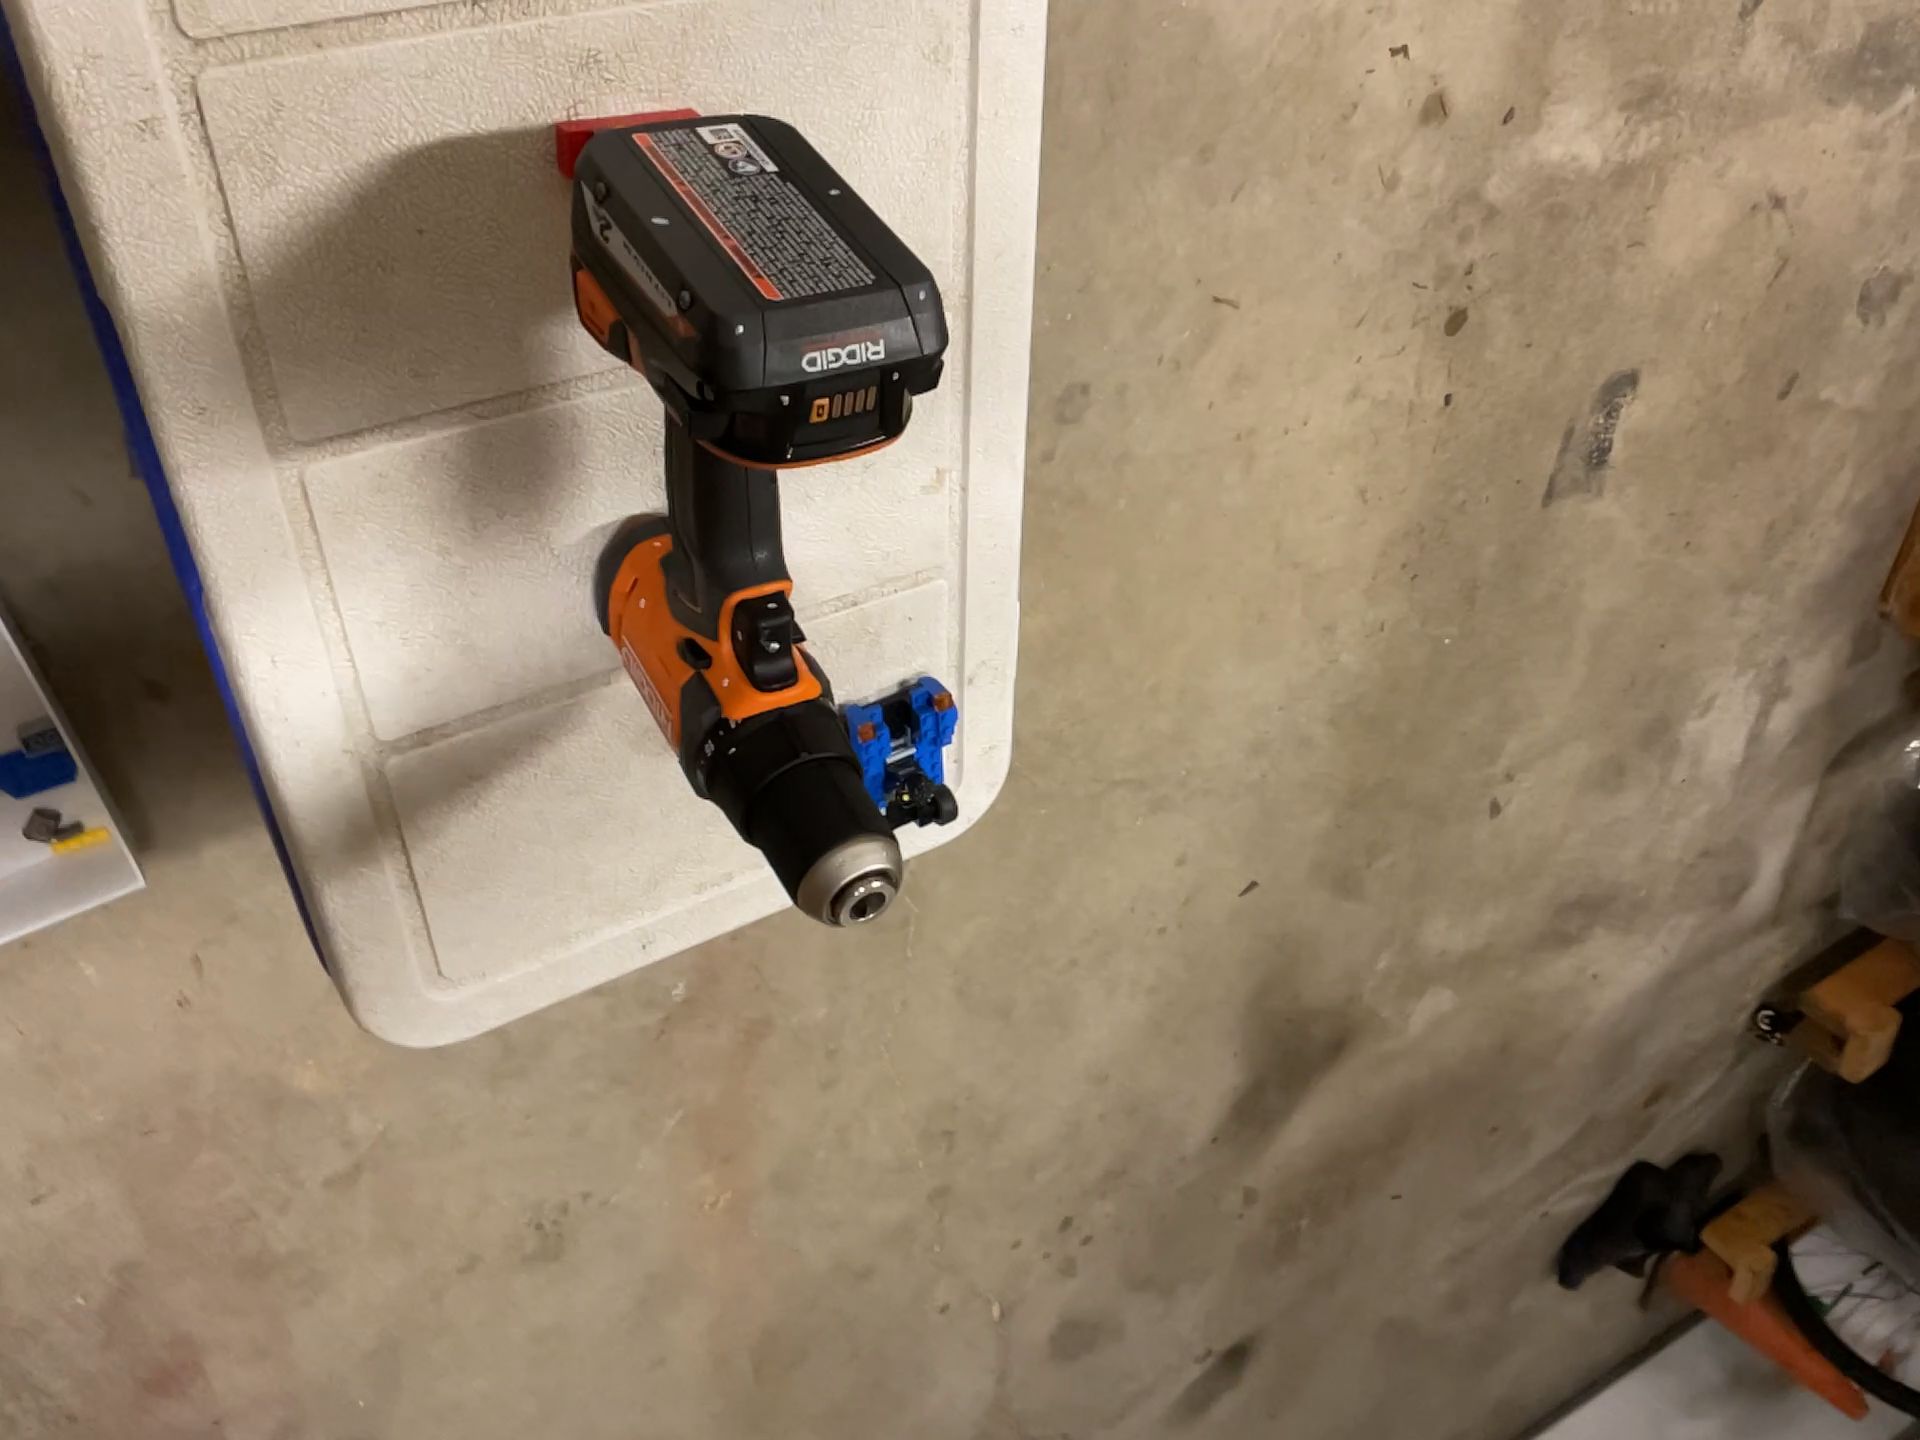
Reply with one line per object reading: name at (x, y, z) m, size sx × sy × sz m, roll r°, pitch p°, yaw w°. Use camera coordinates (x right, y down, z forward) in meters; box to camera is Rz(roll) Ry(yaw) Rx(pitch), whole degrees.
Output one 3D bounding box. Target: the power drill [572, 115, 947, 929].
power drill at (-0.065, -0.055, 0.528) m, size 0.084 × 0.185 × 0.225 m, roll -17°, pitch 142°, yaw -26°
